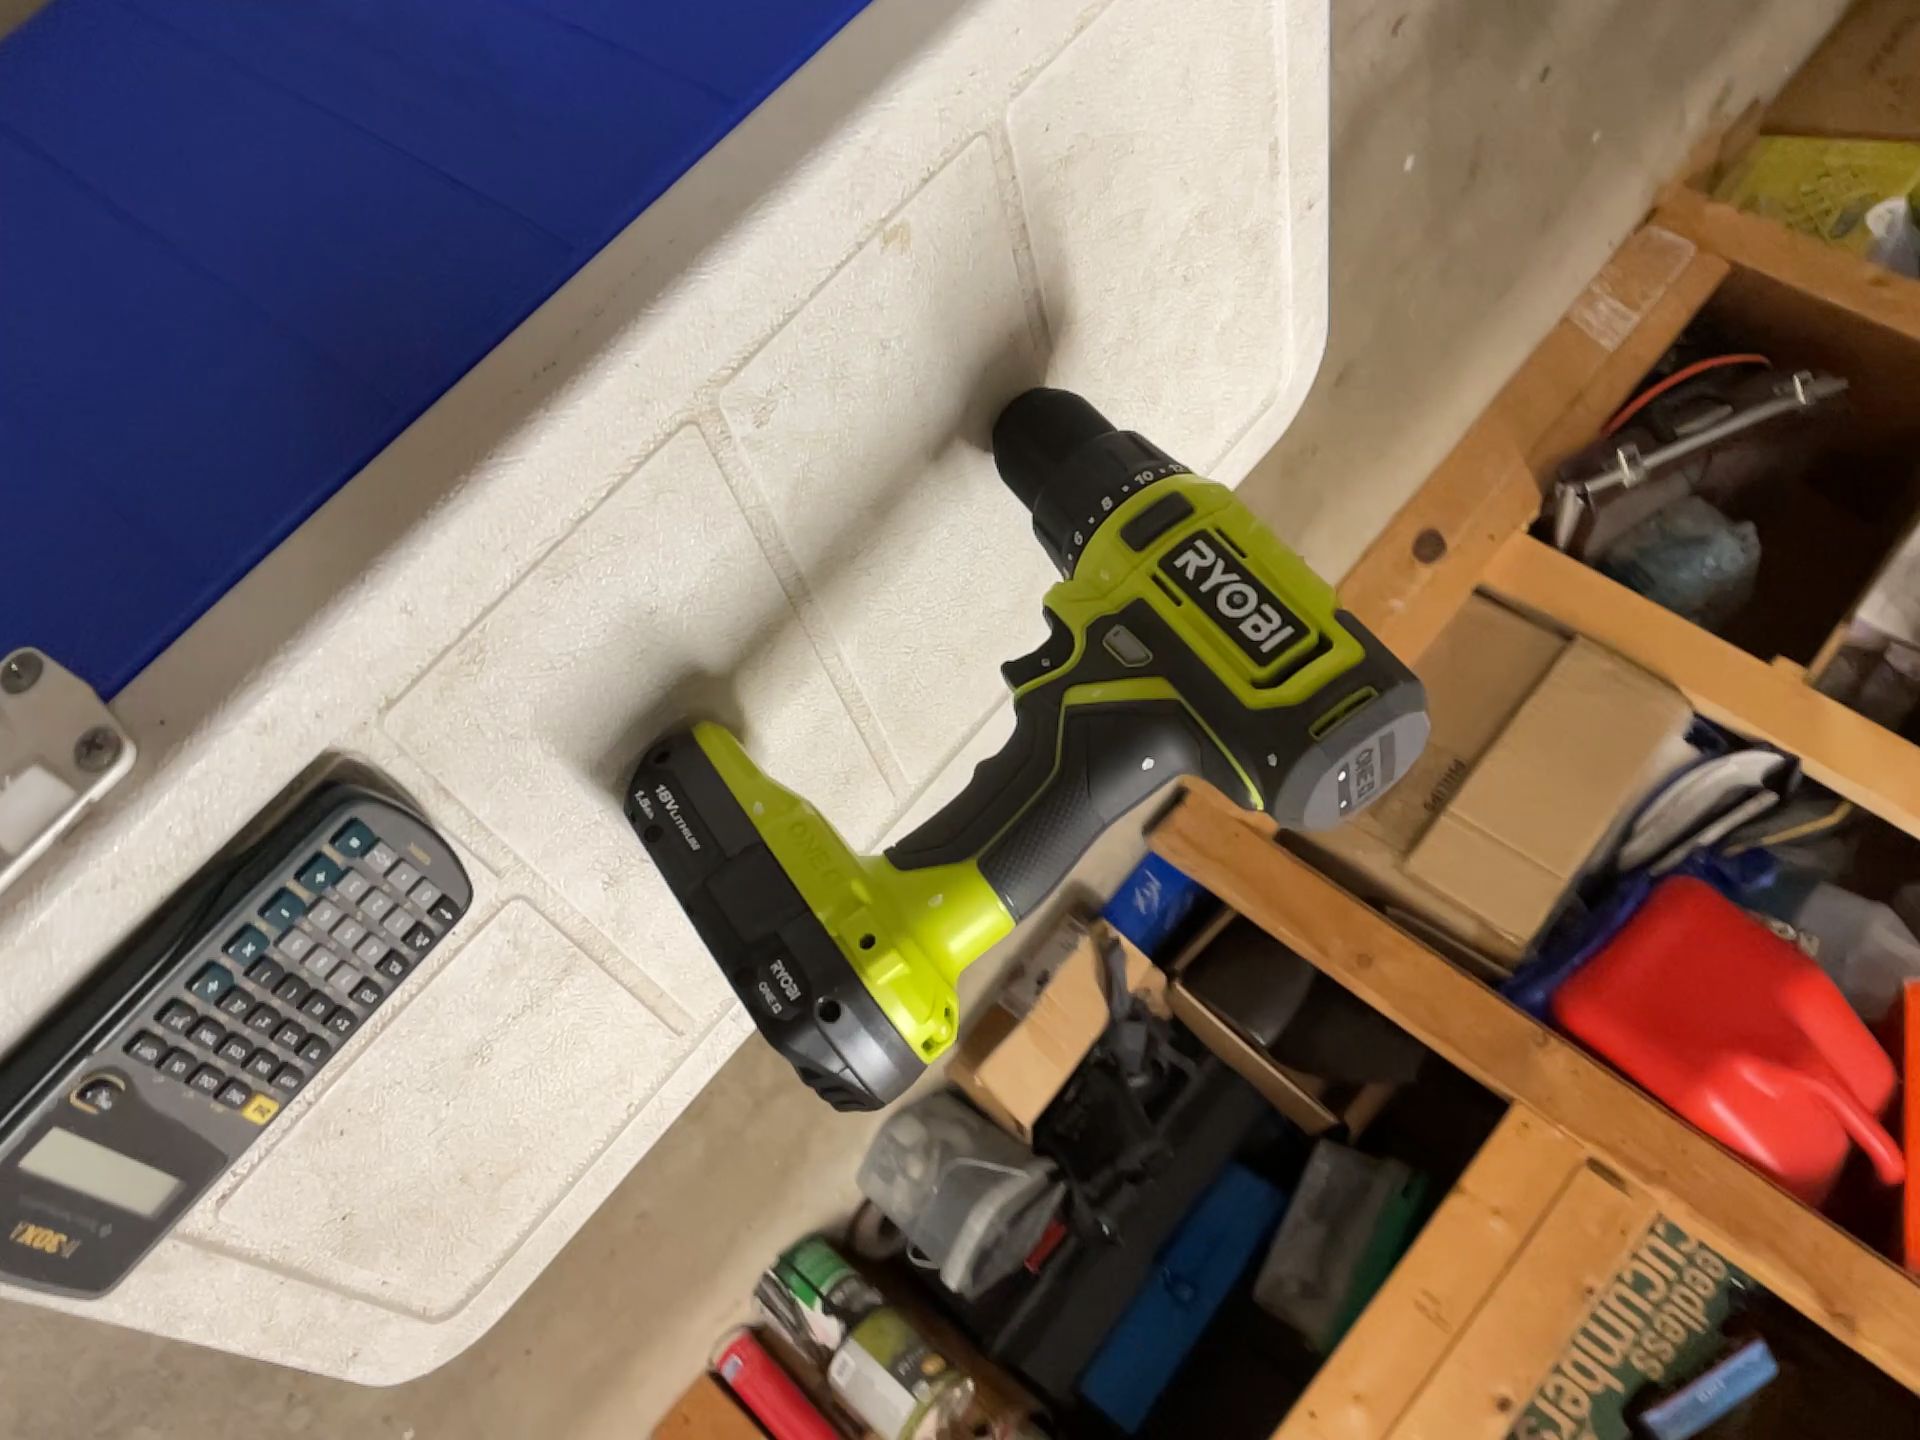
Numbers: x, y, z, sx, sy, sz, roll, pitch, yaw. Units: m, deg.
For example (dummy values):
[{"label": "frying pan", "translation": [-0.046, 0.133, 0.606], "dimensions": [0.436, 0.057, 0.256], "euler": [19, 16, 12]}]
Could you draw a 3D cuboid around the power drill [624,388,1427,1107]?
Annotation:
[{"label": "power drill", "translation": [0.010, -0.001, 0.534], "dimensions": [0.228, 0.190, 0.080], "euler": [-36, 151, -6]}]
